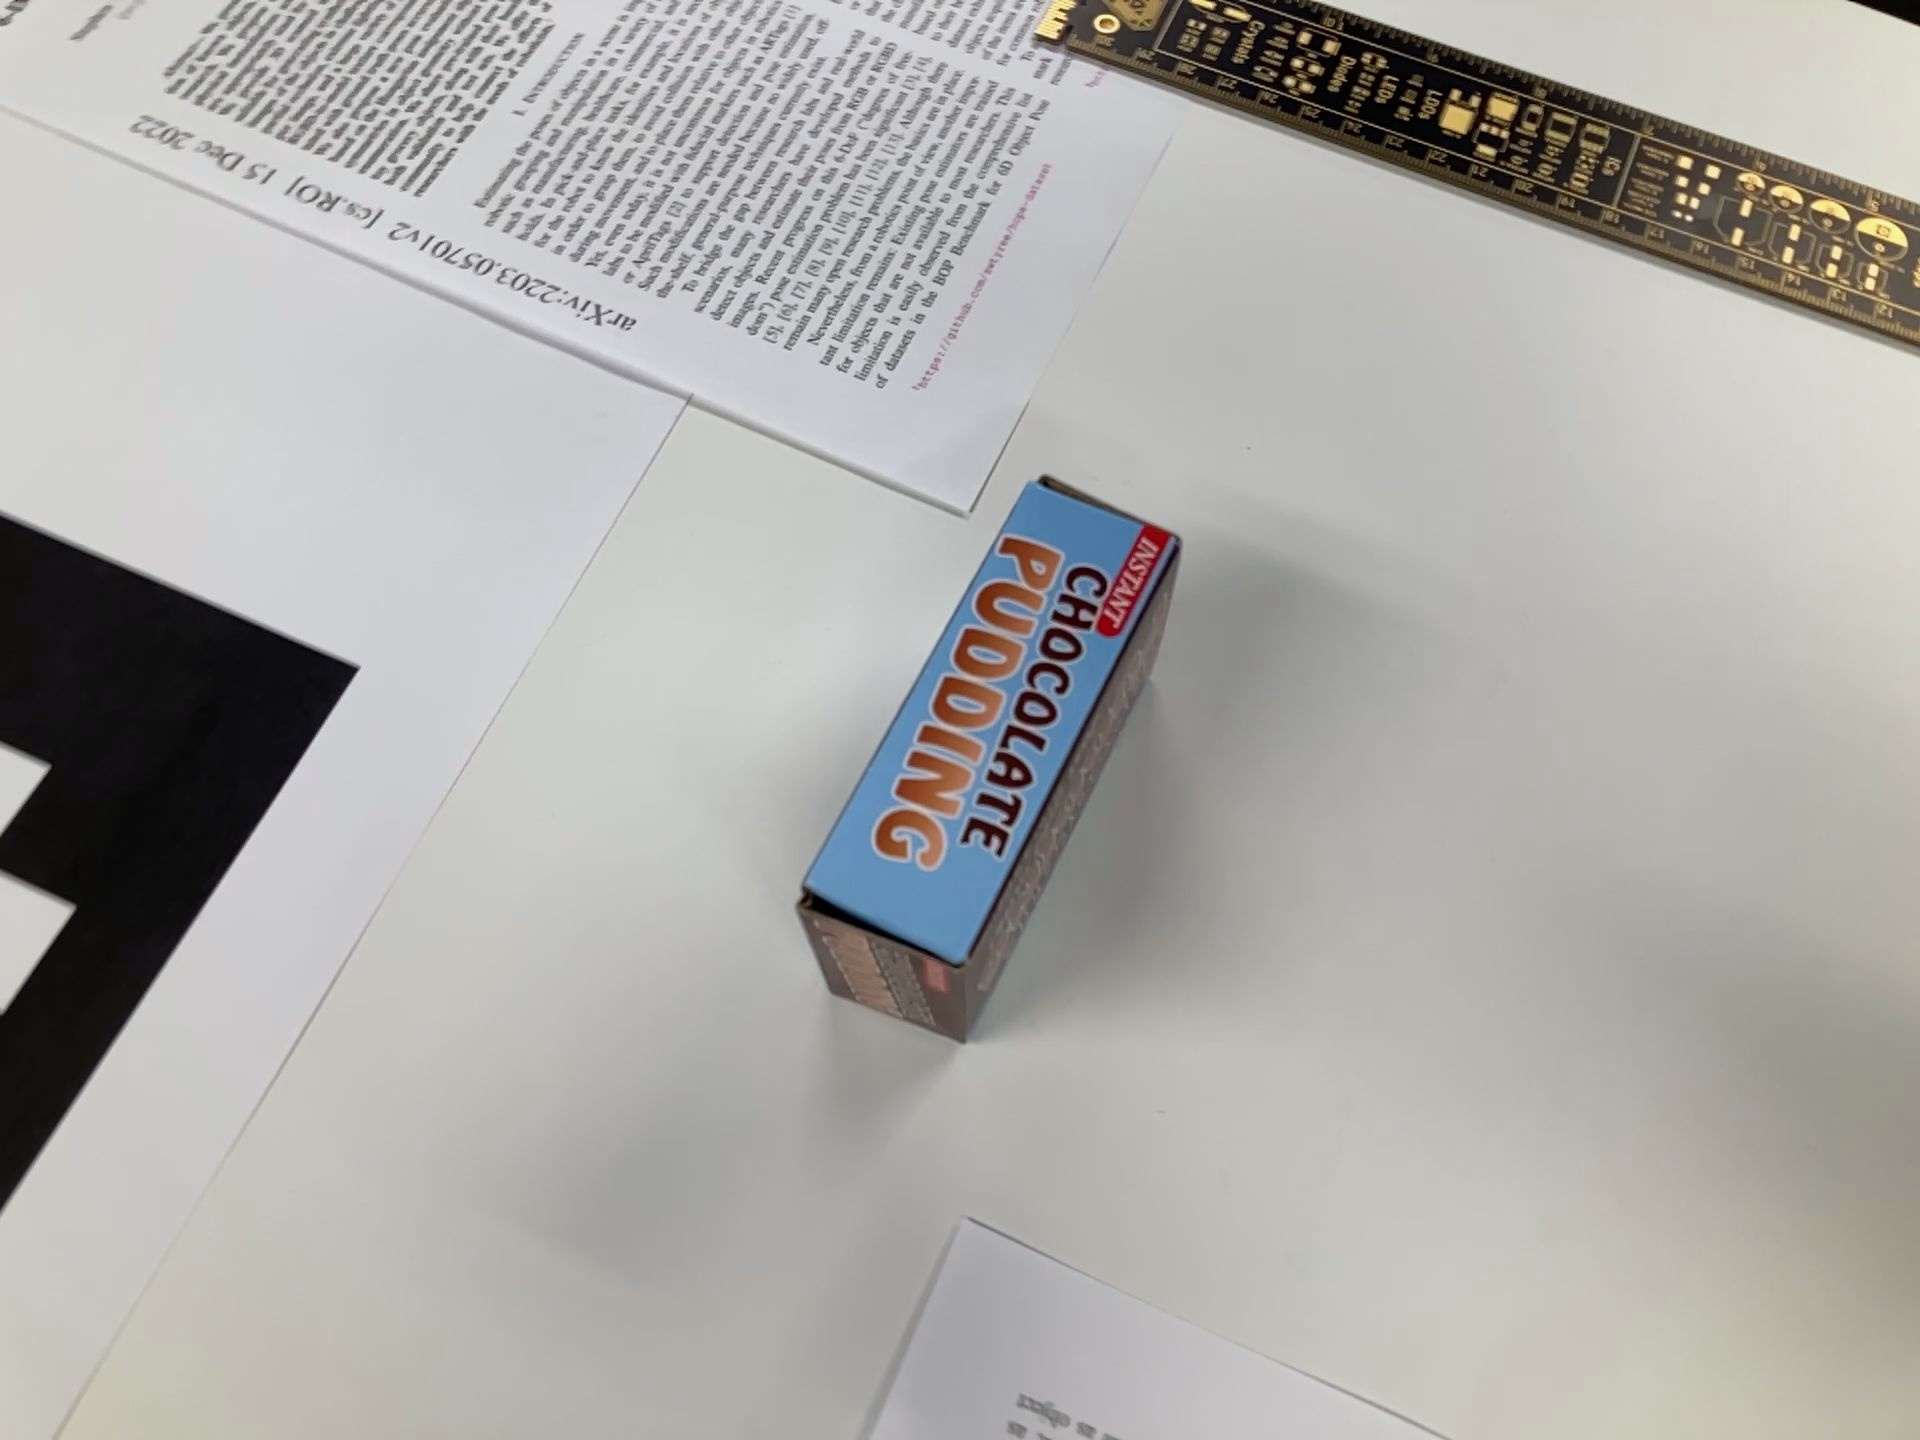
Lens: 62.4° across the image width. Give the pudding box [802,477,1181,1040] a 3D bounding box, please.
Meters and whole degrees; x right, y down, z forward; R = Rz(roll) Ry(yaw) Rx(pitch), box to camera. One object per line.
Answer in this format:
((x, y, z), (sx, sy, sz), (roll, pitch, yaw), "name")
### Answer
((0.006, 0.007, 0.270), (0.030, 0.049, 0.083), (24, 68, 11), "pudding box")
